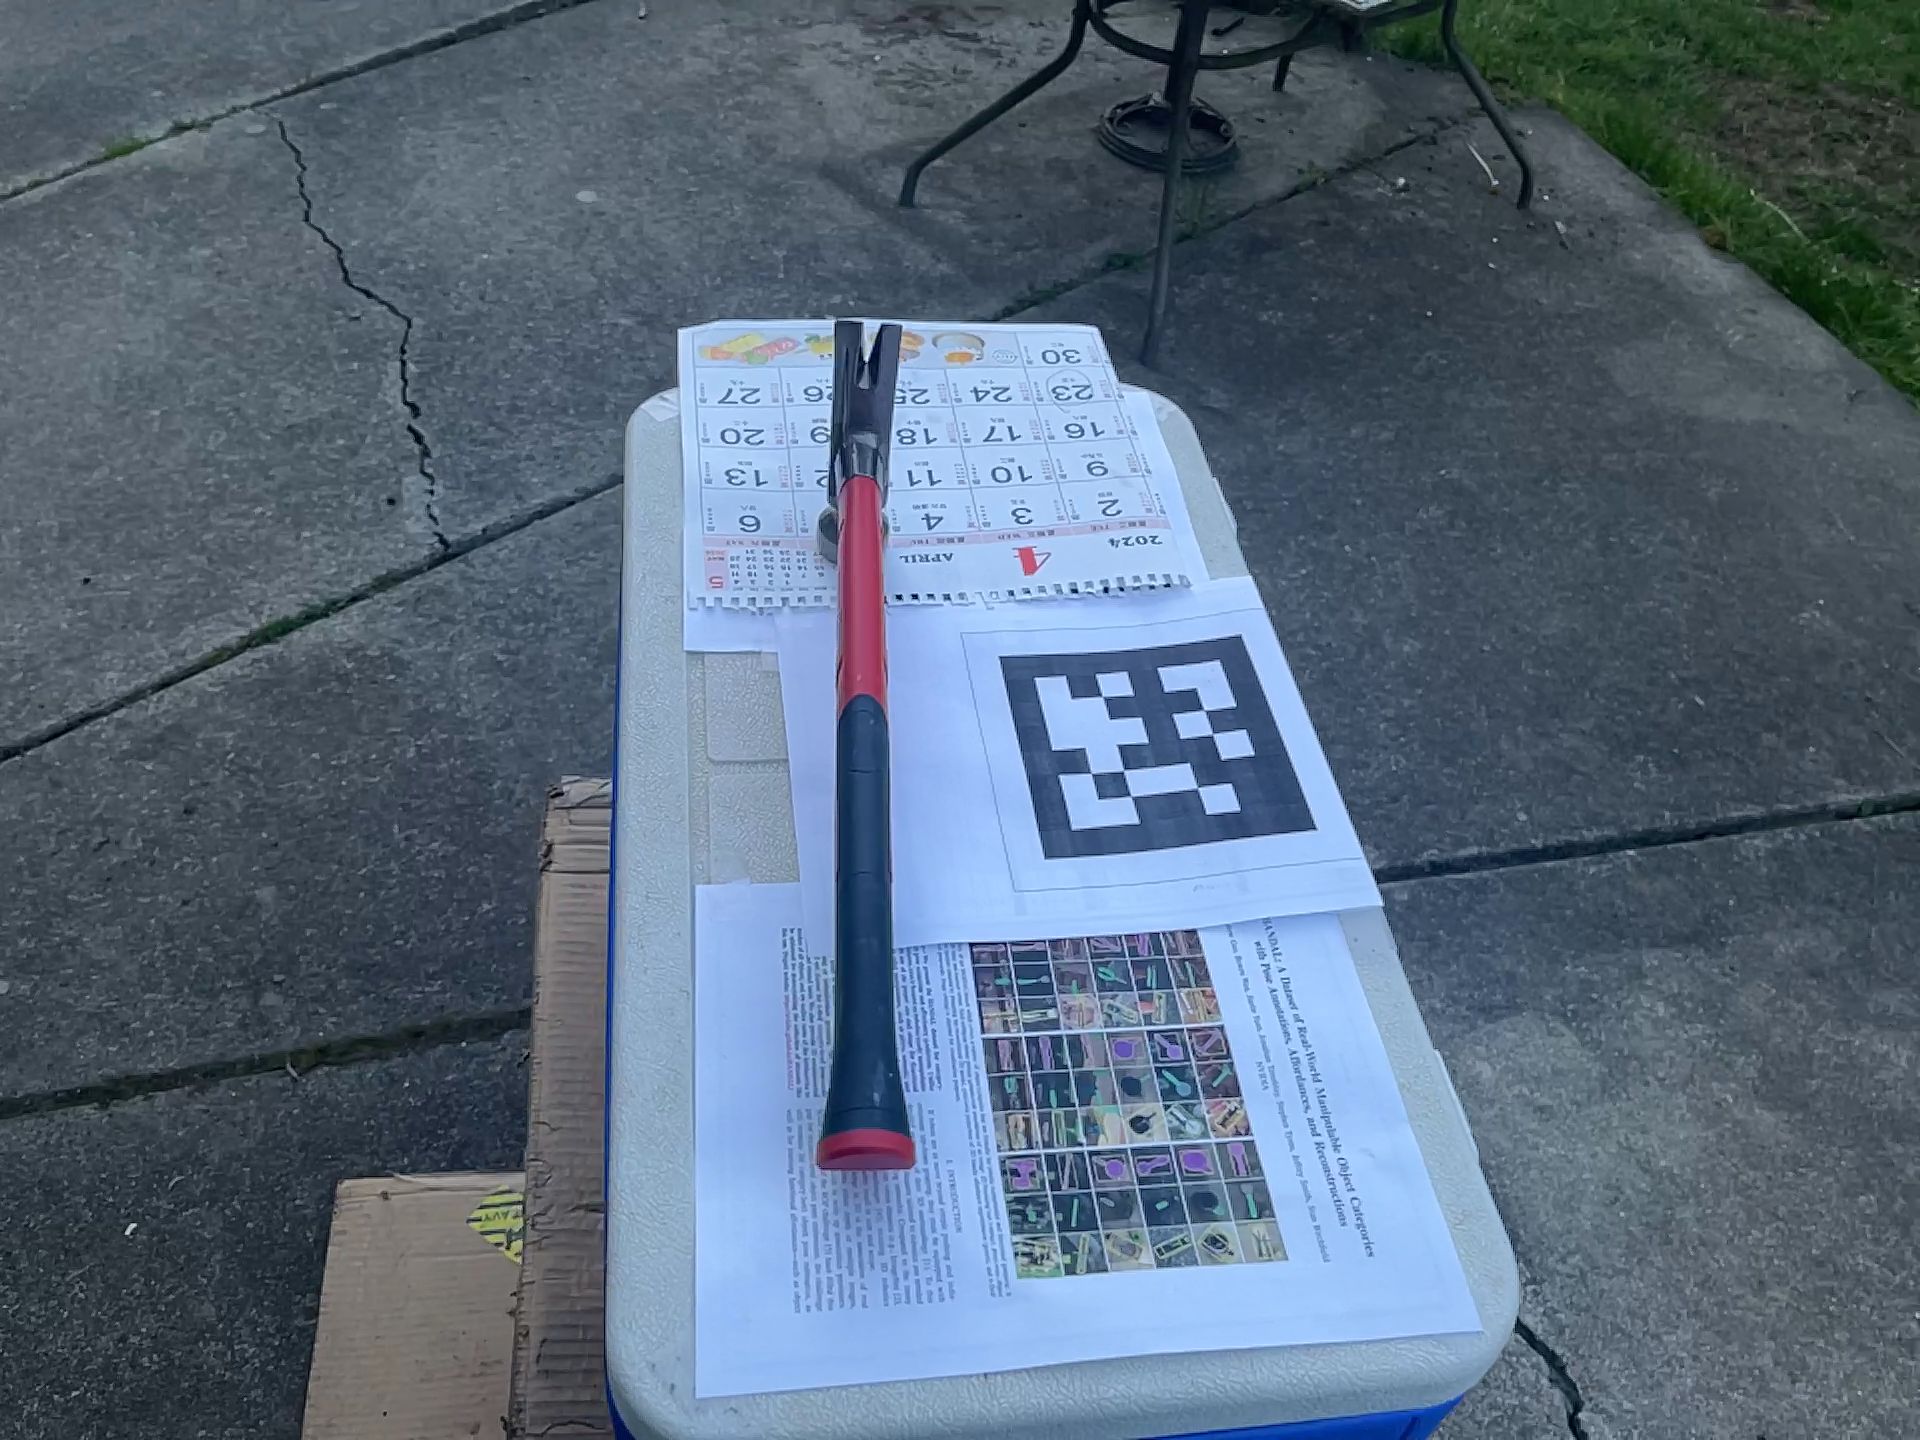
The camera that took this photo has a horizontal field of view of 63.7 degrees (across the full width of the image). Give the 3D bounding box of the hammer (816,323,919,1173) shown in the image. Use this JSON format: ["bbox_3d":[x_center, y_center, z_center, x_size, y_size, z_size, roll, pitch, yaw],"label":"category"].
[{"bbox_3d":[-0.041,-0.001,0.659,0.038,0.143,0.387,2,51,-6],"label":"hammer"}]
